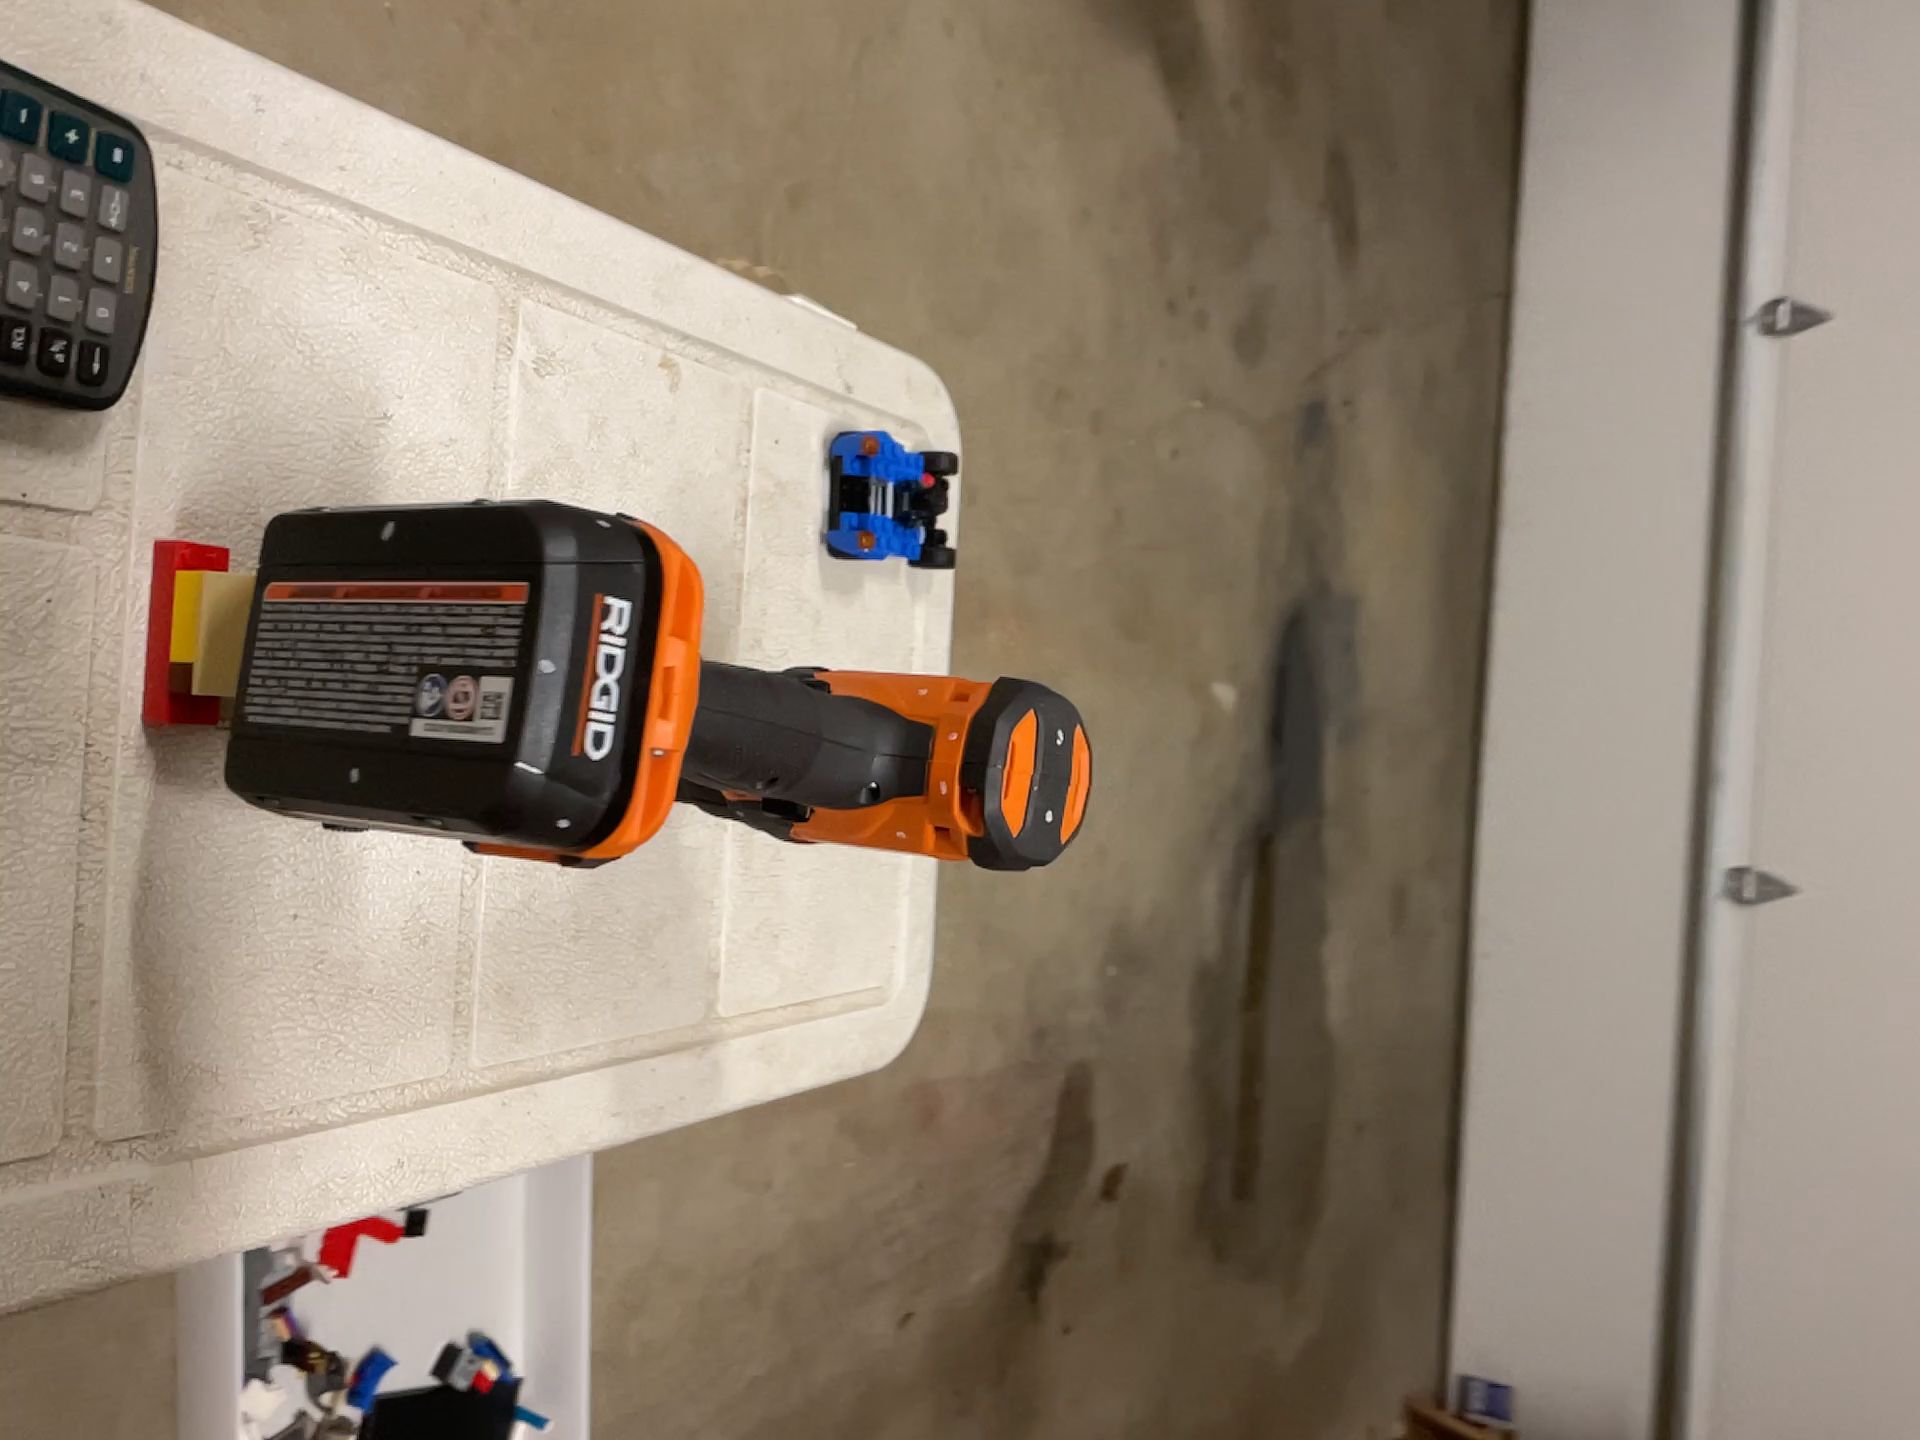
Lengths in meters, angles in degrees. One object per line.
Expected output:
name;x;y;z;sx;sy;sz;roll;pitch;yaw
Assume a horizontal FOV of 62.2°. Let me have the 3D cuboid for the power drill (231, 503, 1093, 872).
power drill;-0.092;0.000;0.470;0.226;0.185;0.084;15;82;-55
